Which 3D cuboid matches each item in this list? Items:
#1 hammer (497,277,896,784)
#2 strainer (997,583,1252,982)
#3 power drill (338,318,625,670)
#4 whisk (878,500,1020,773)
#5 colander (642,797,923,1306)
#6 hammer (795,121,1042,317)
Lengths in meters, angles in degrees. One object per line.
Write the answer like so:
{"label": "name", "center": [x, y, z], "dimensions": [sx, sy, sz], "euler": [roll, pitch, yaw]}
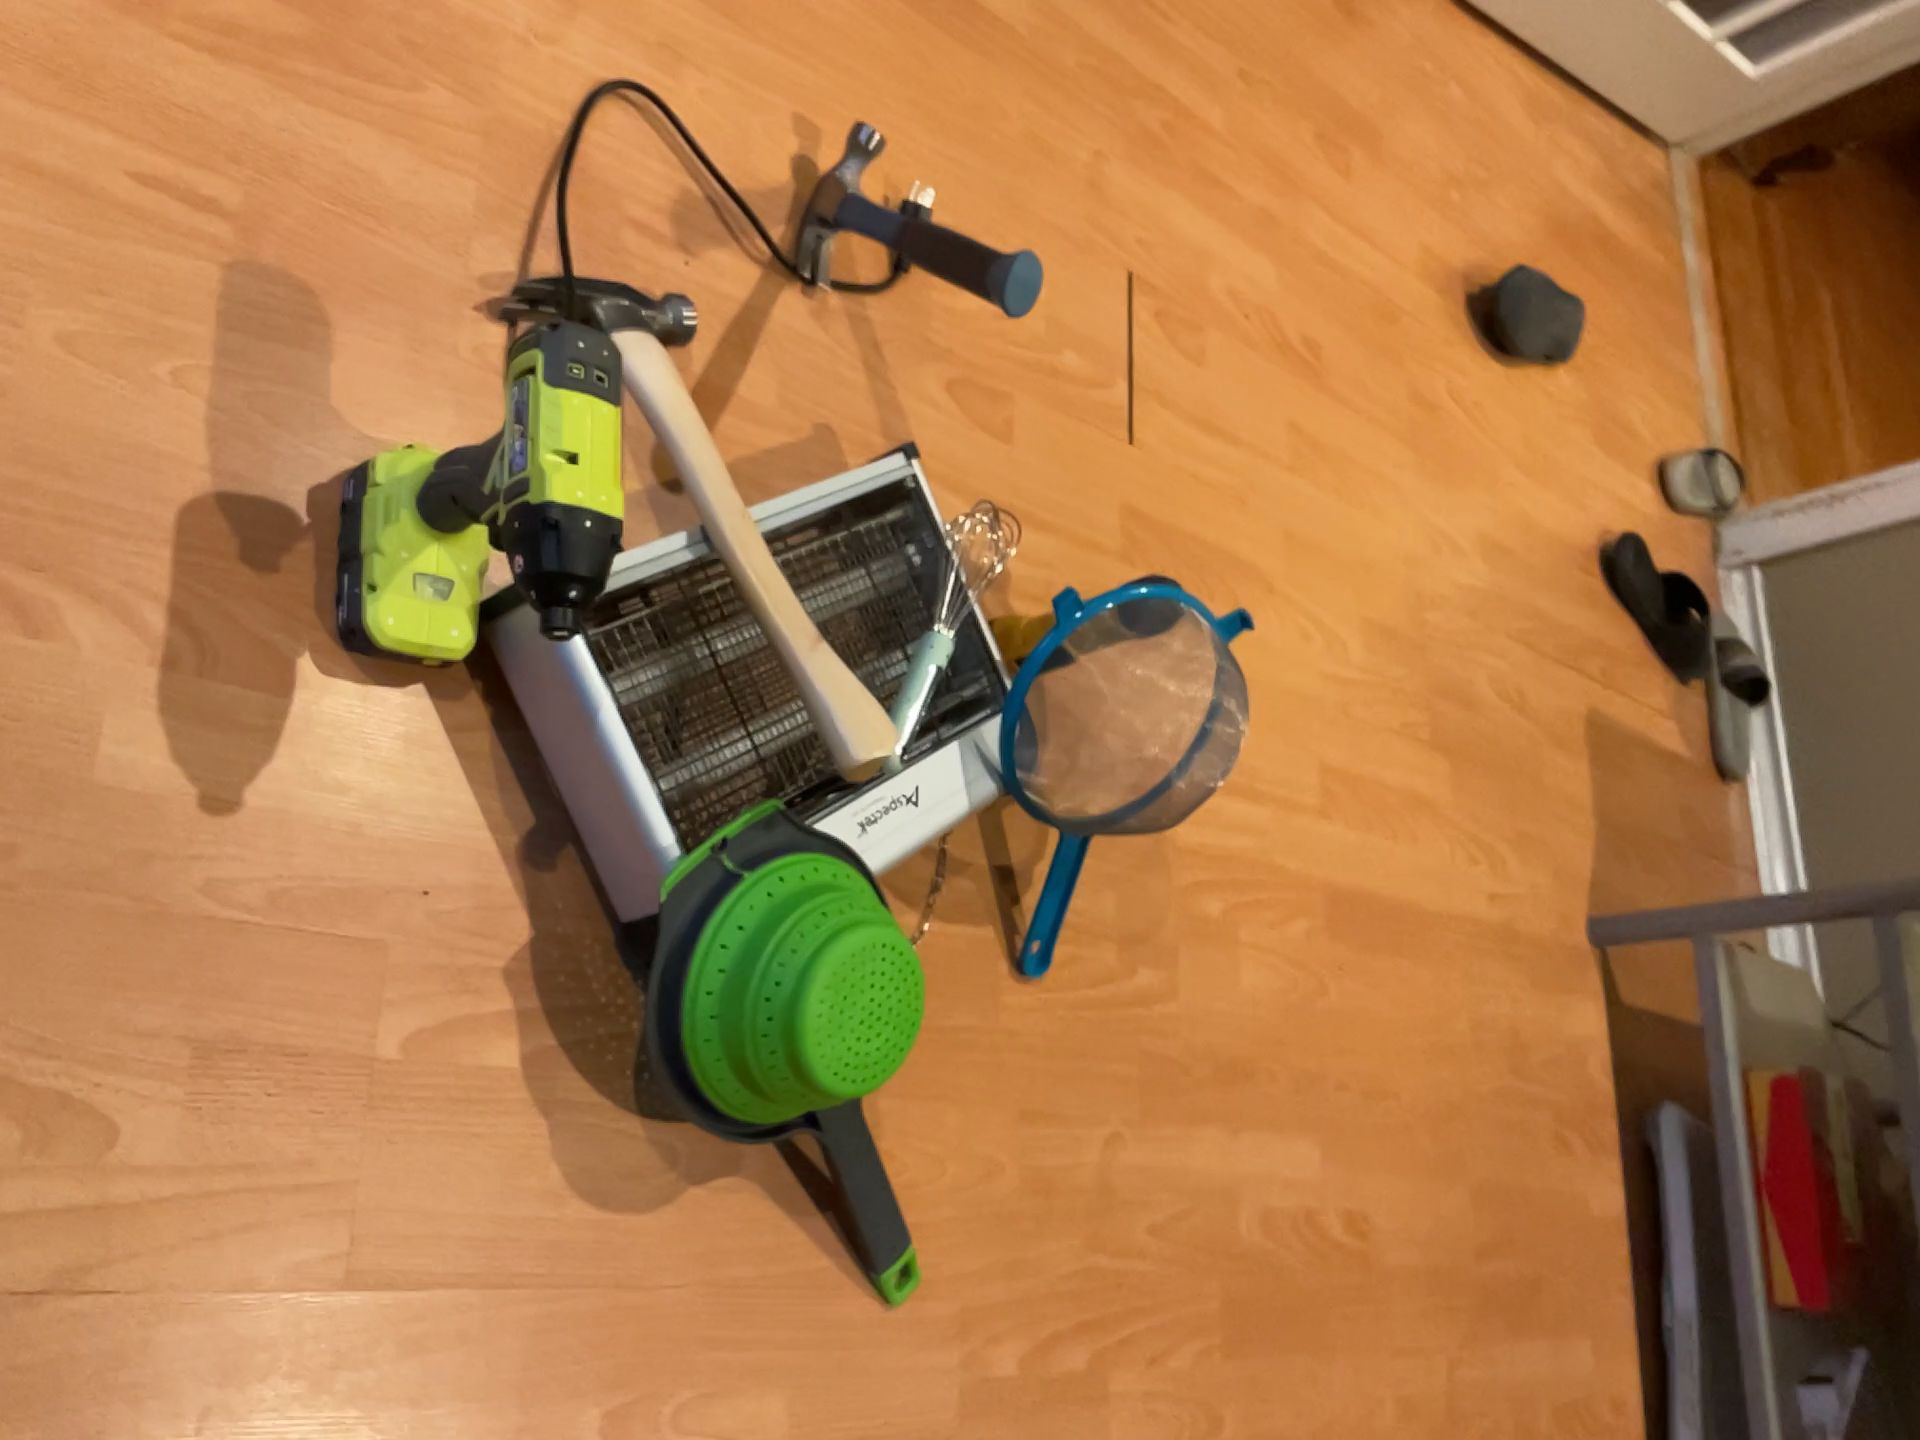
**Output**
{"label": "hammer", "center": [-0.163, -0.133, 1.058], "dimensions": [0.146, 0.038, 0.411], "euler": [-8, 60, -47]}
{"label": "strainer", "center": [0.123, 0.069, 1.228], "dimensions": [0.211, 0.095, 0.340], "euler": [4, 111, -34]}
{"label": "power drill", "center": [-0.271, -0.110, 0.918], "dimensions": [0.080, 0.223, 0.171], "euler": [11, 71, -43]}
{"label": "whisk", "center": [-0.013, -0.065, 1.177], "dimensions": [0.057, 0.059, 0.246], "euler": [67, 38, -52]}
{"label": "colander", "center": [-0.069, 0.244, 1.046], "dimensions": [0.205, 0.094, 0.396], "euler": [-38, 123, -37]}
{"label": "hammer", "center": [-0.034, -0.358, 1.190], "dimensions": [0.033, 0.331, 0.128], "euler": [25, 101, -38]}
